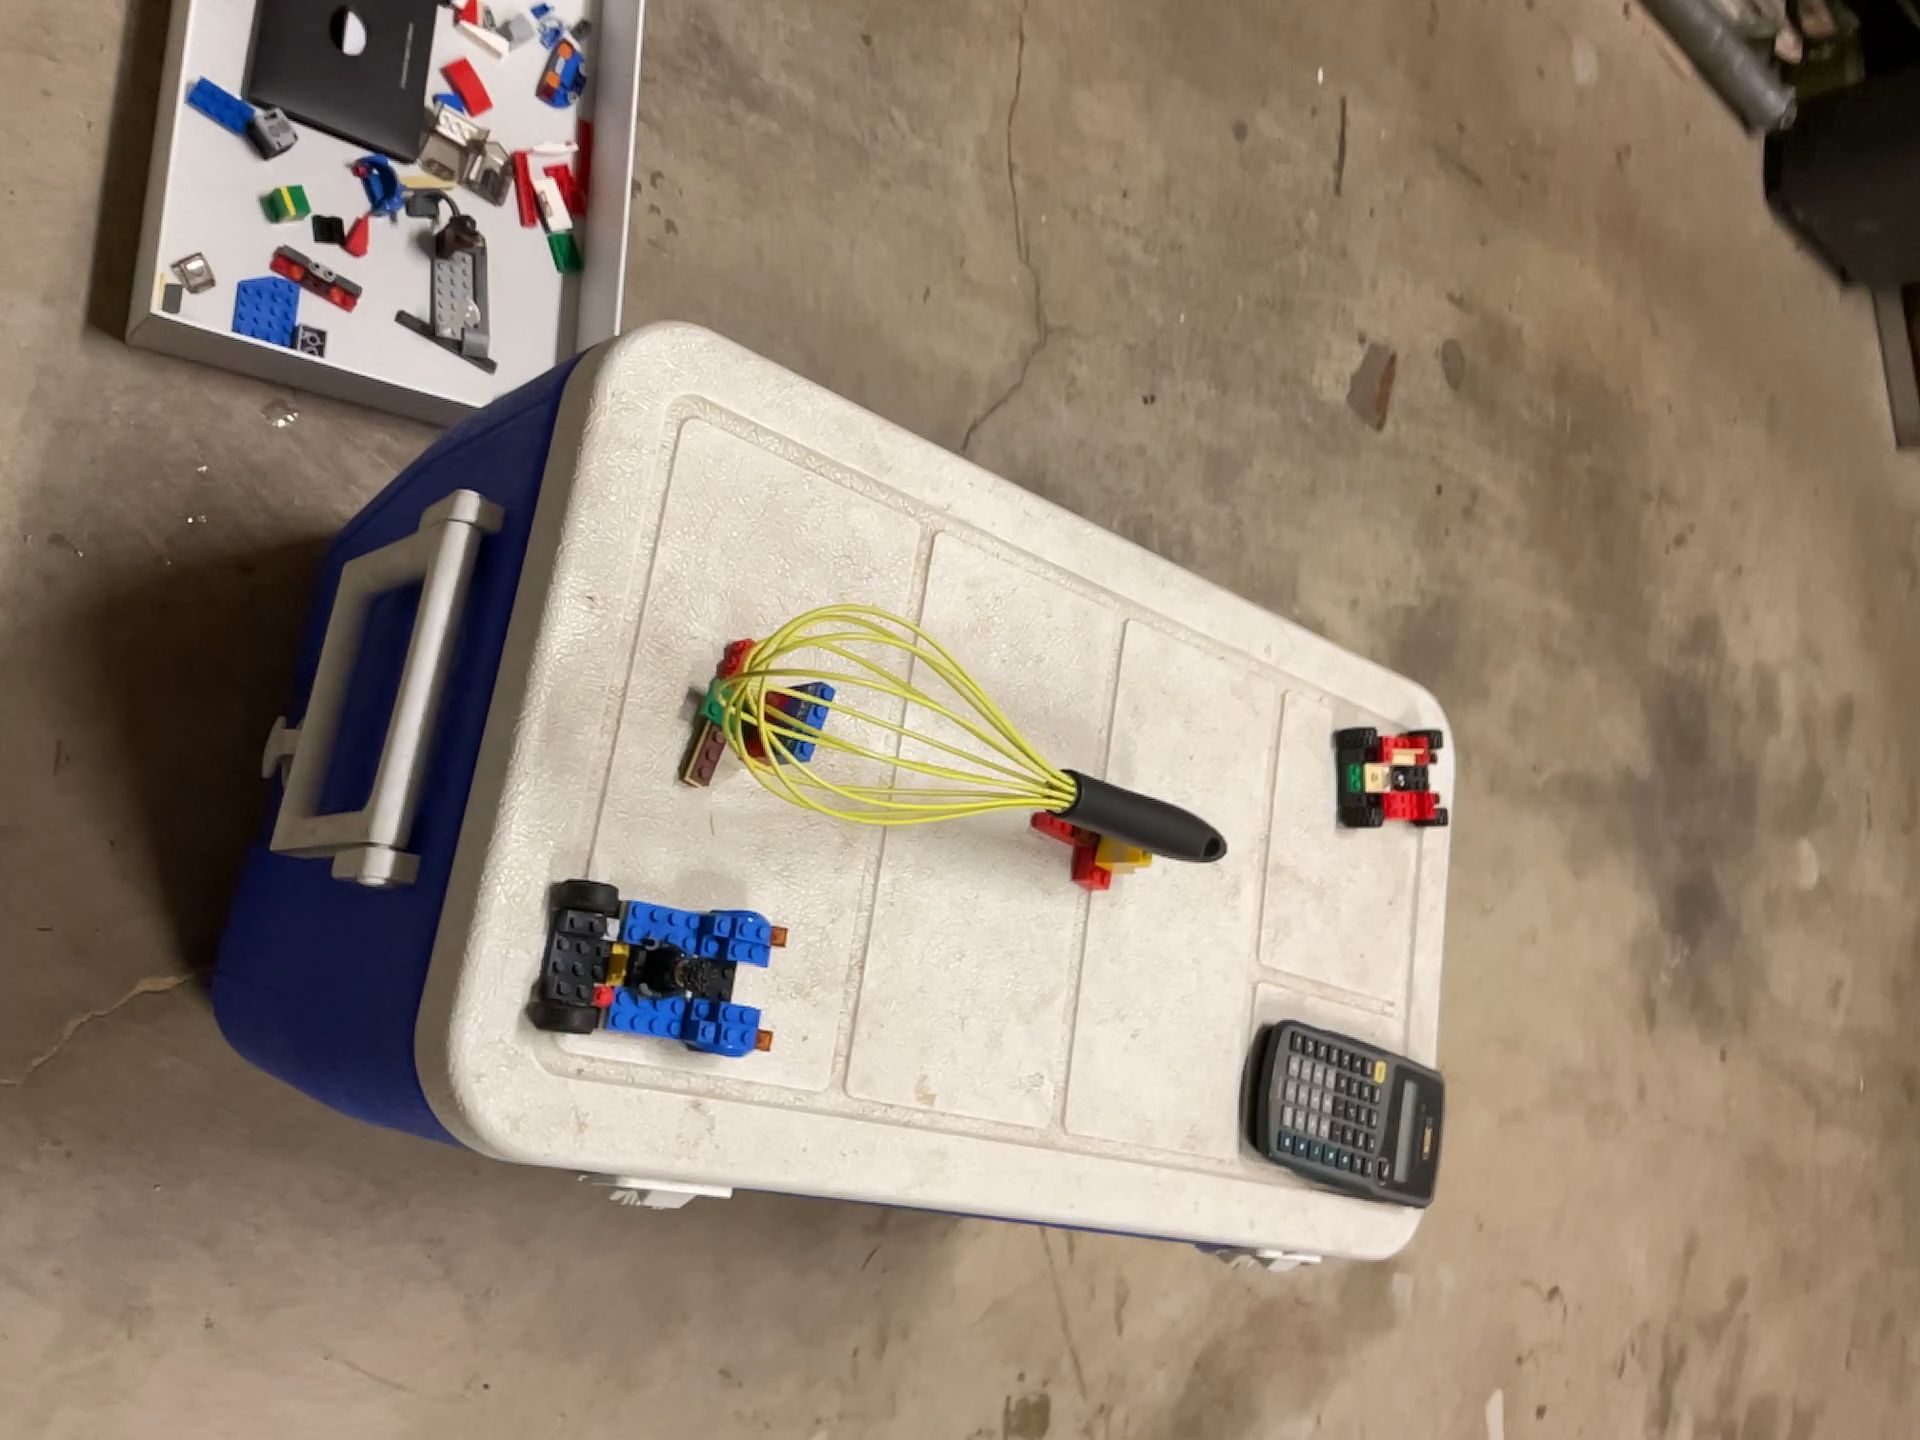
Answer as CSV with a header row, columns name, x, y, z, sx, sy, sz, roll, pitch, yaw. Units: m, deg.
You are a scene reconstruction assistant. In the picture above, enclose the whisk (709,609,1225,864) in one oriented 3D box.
name,x,y,z,sx,sy,sz,roll,pitch,yaw
whisk,0.022,0.023,0.653,0.311,0.067,0.080,21,117,-46
